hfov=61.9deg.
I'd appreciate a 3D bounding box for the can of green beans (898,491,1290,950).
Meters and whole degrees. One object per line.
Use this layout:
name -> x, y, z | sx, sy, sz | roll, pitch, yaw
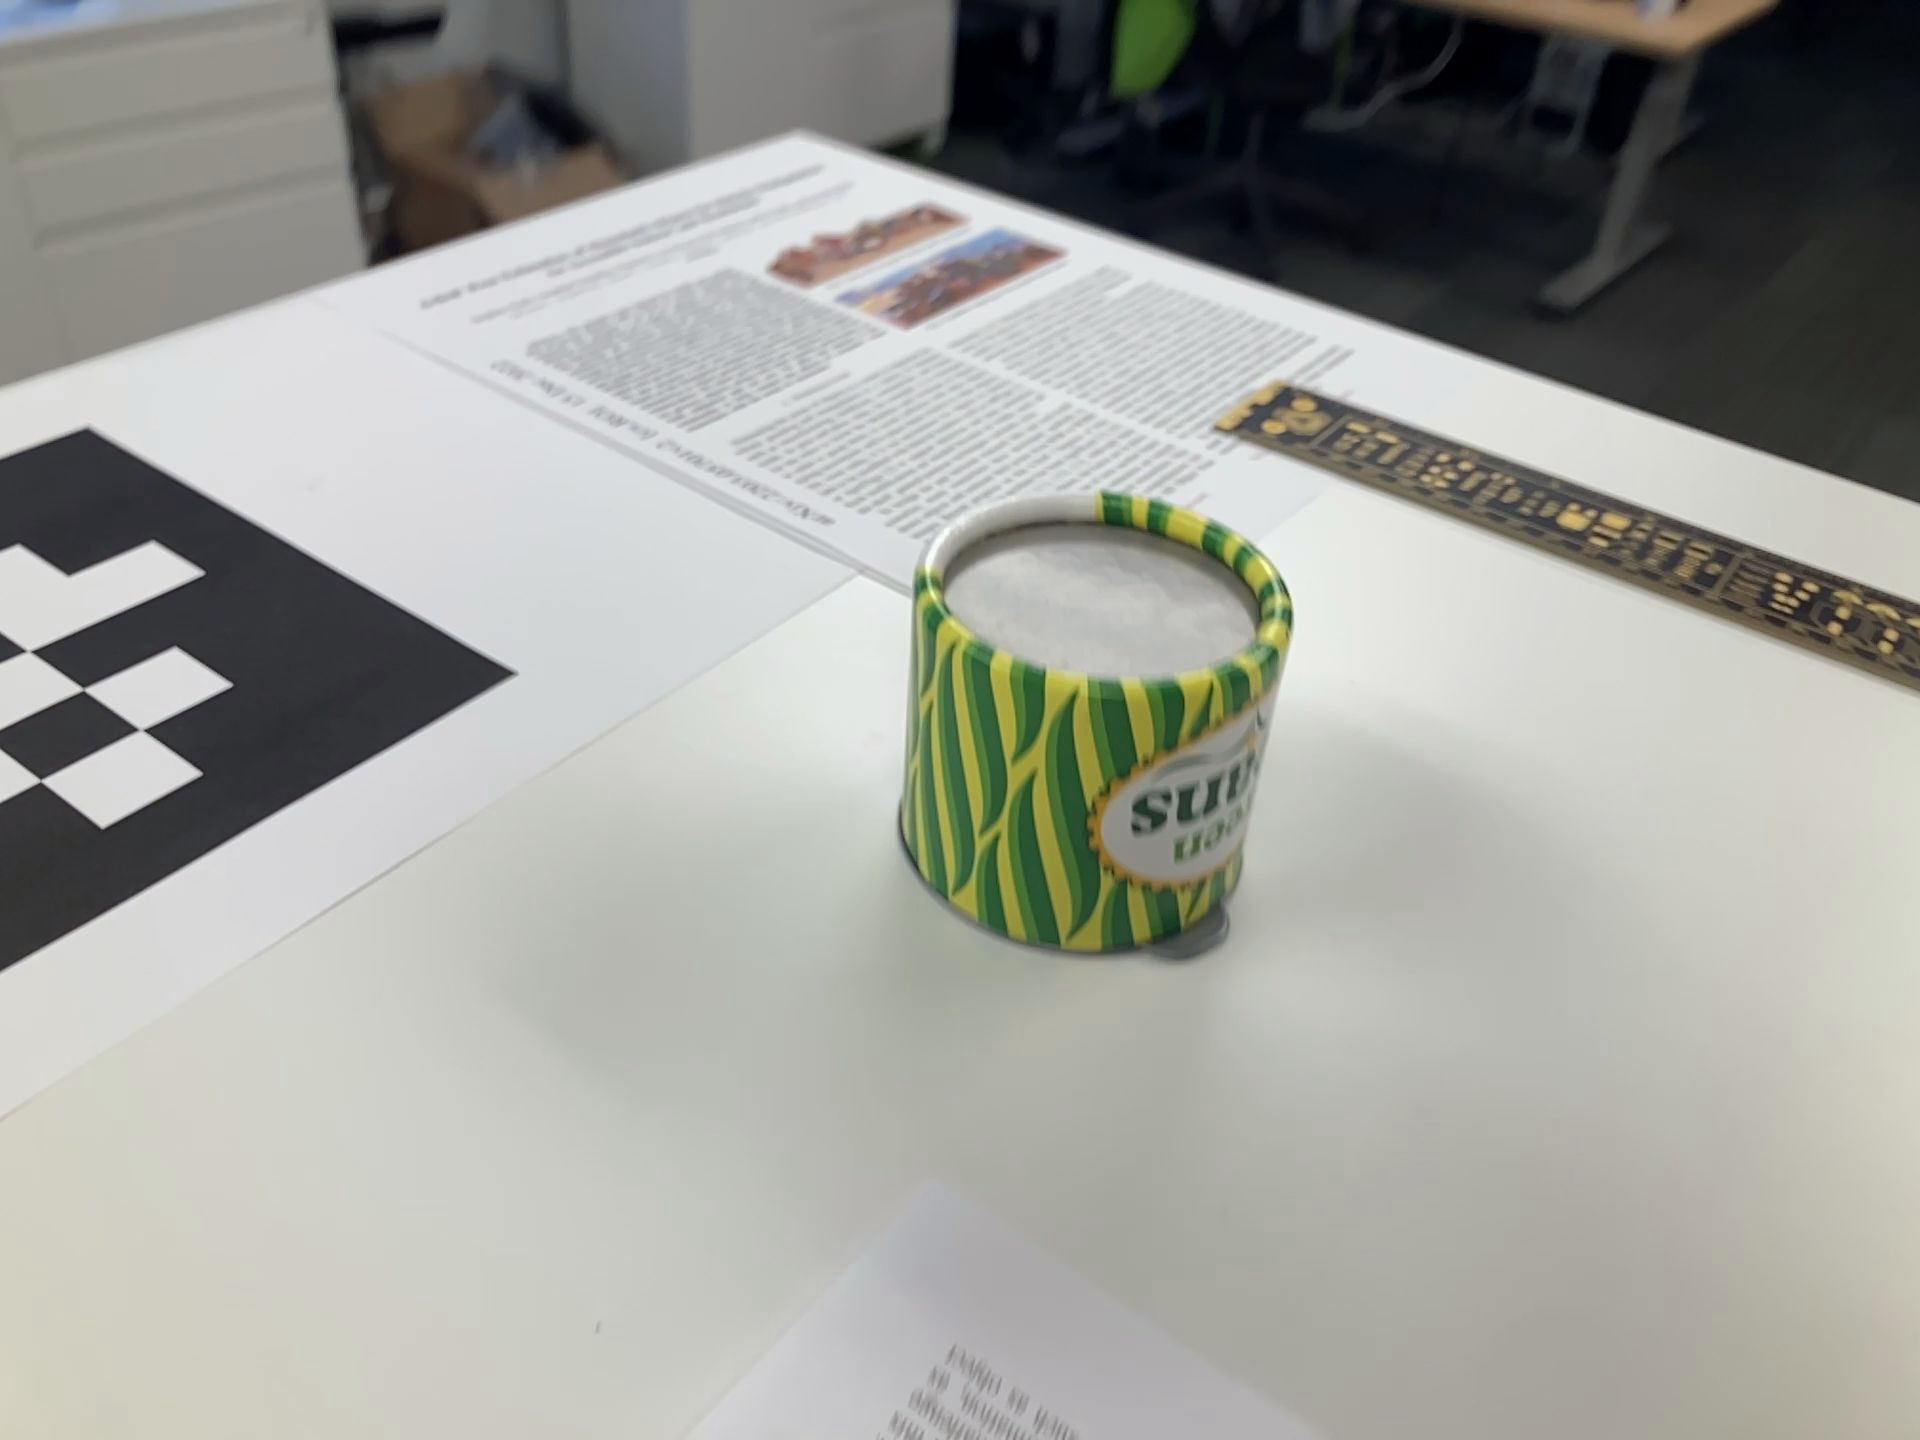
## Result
can of green beans -> 0.023, -0.002, 0.294 | 0.071, 0.058, 0.071 | 3, 37, -2
